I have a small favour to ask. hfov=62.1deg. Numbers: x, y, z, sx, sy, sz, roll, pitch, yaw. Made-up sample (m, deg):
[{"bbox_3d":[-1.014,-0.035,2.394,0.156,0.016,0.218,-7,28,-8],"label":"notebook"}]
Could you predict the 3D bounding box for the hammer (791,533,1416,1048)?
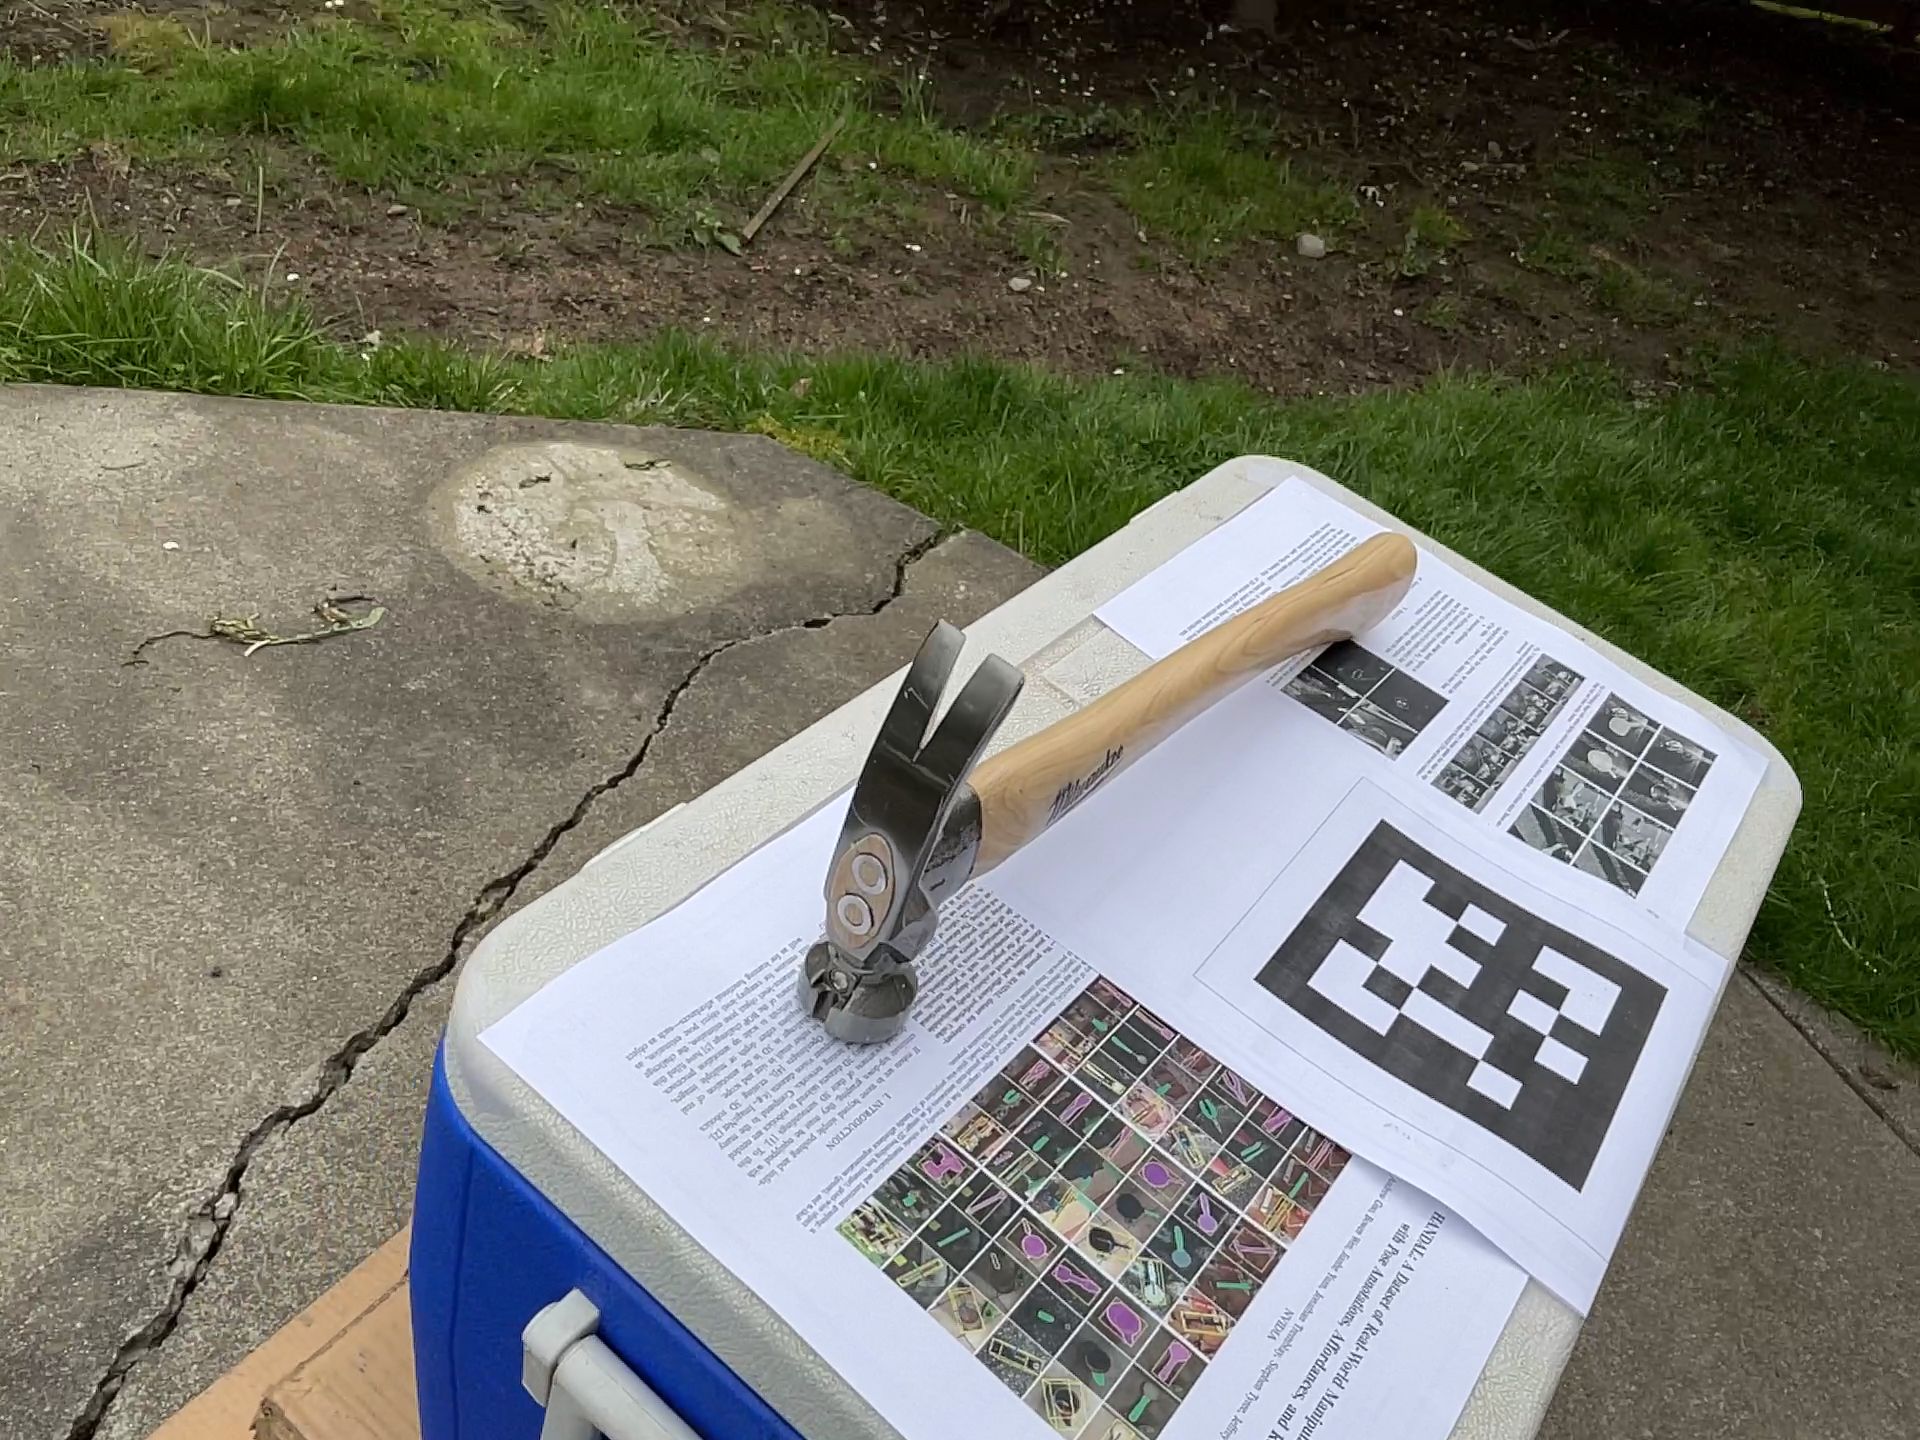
[{"bbox_3d":[0.093,-0.021,0.618,0.038,0.146,0.410,36,36,21],"label":"hammer"}]
